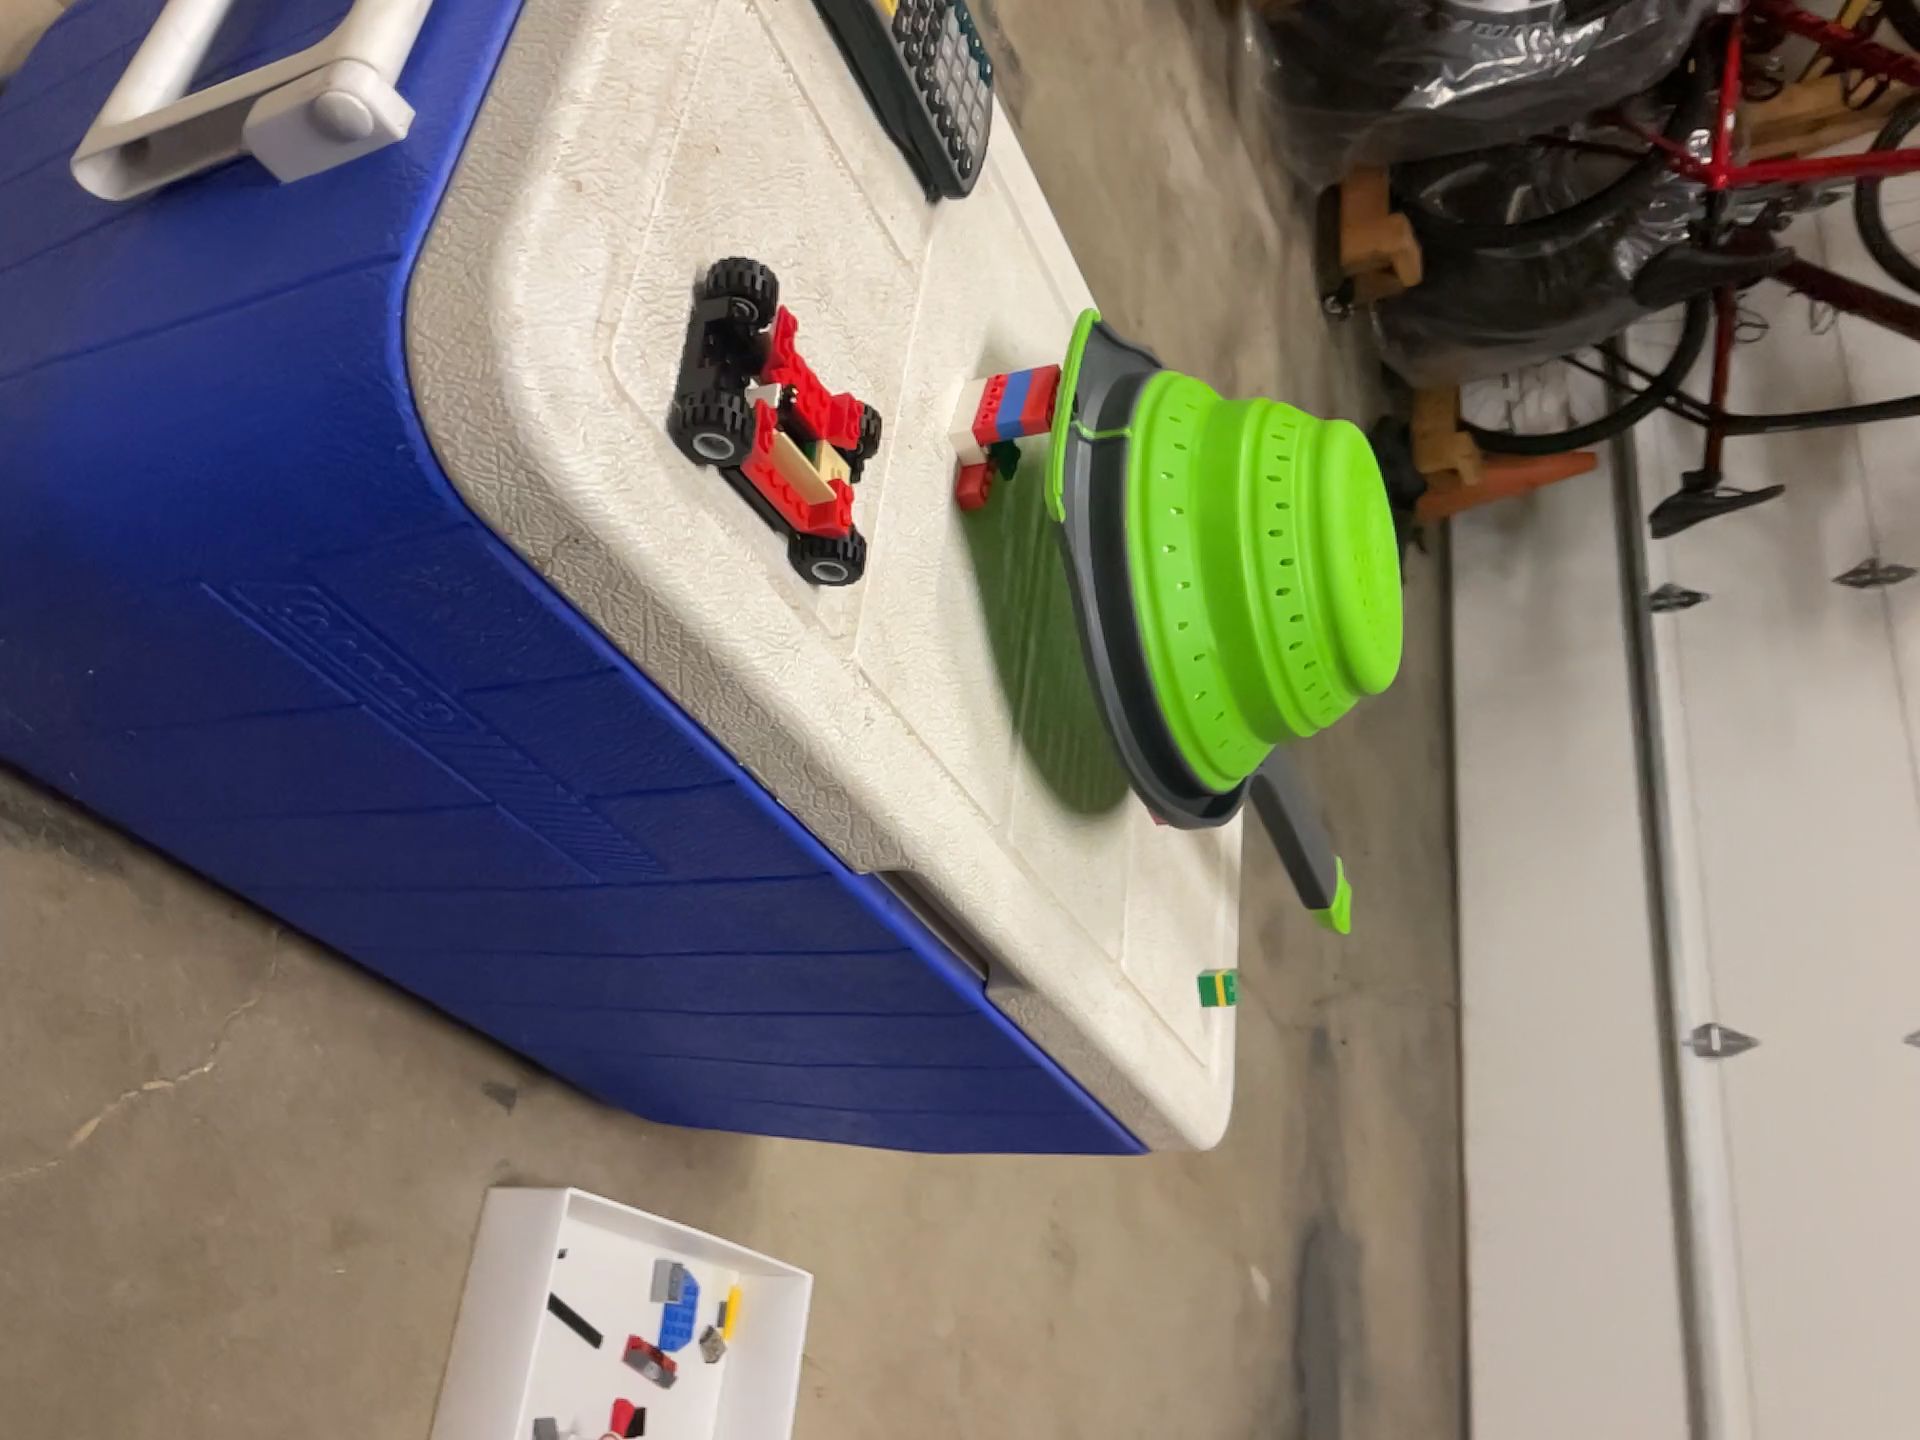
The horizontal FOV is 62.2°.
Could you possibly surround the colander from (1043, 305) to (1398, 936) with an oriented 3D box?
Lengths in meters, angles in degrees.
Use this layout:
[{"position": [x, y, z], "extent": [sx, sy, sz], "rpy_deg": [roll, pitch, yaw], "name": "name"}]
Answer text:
[{"position": [0.154, -0.013, 0.704], "extent": [0.396, 0.094, 0.205], "rpy_deg": [55, 37, -45], "name": "colander"}]
